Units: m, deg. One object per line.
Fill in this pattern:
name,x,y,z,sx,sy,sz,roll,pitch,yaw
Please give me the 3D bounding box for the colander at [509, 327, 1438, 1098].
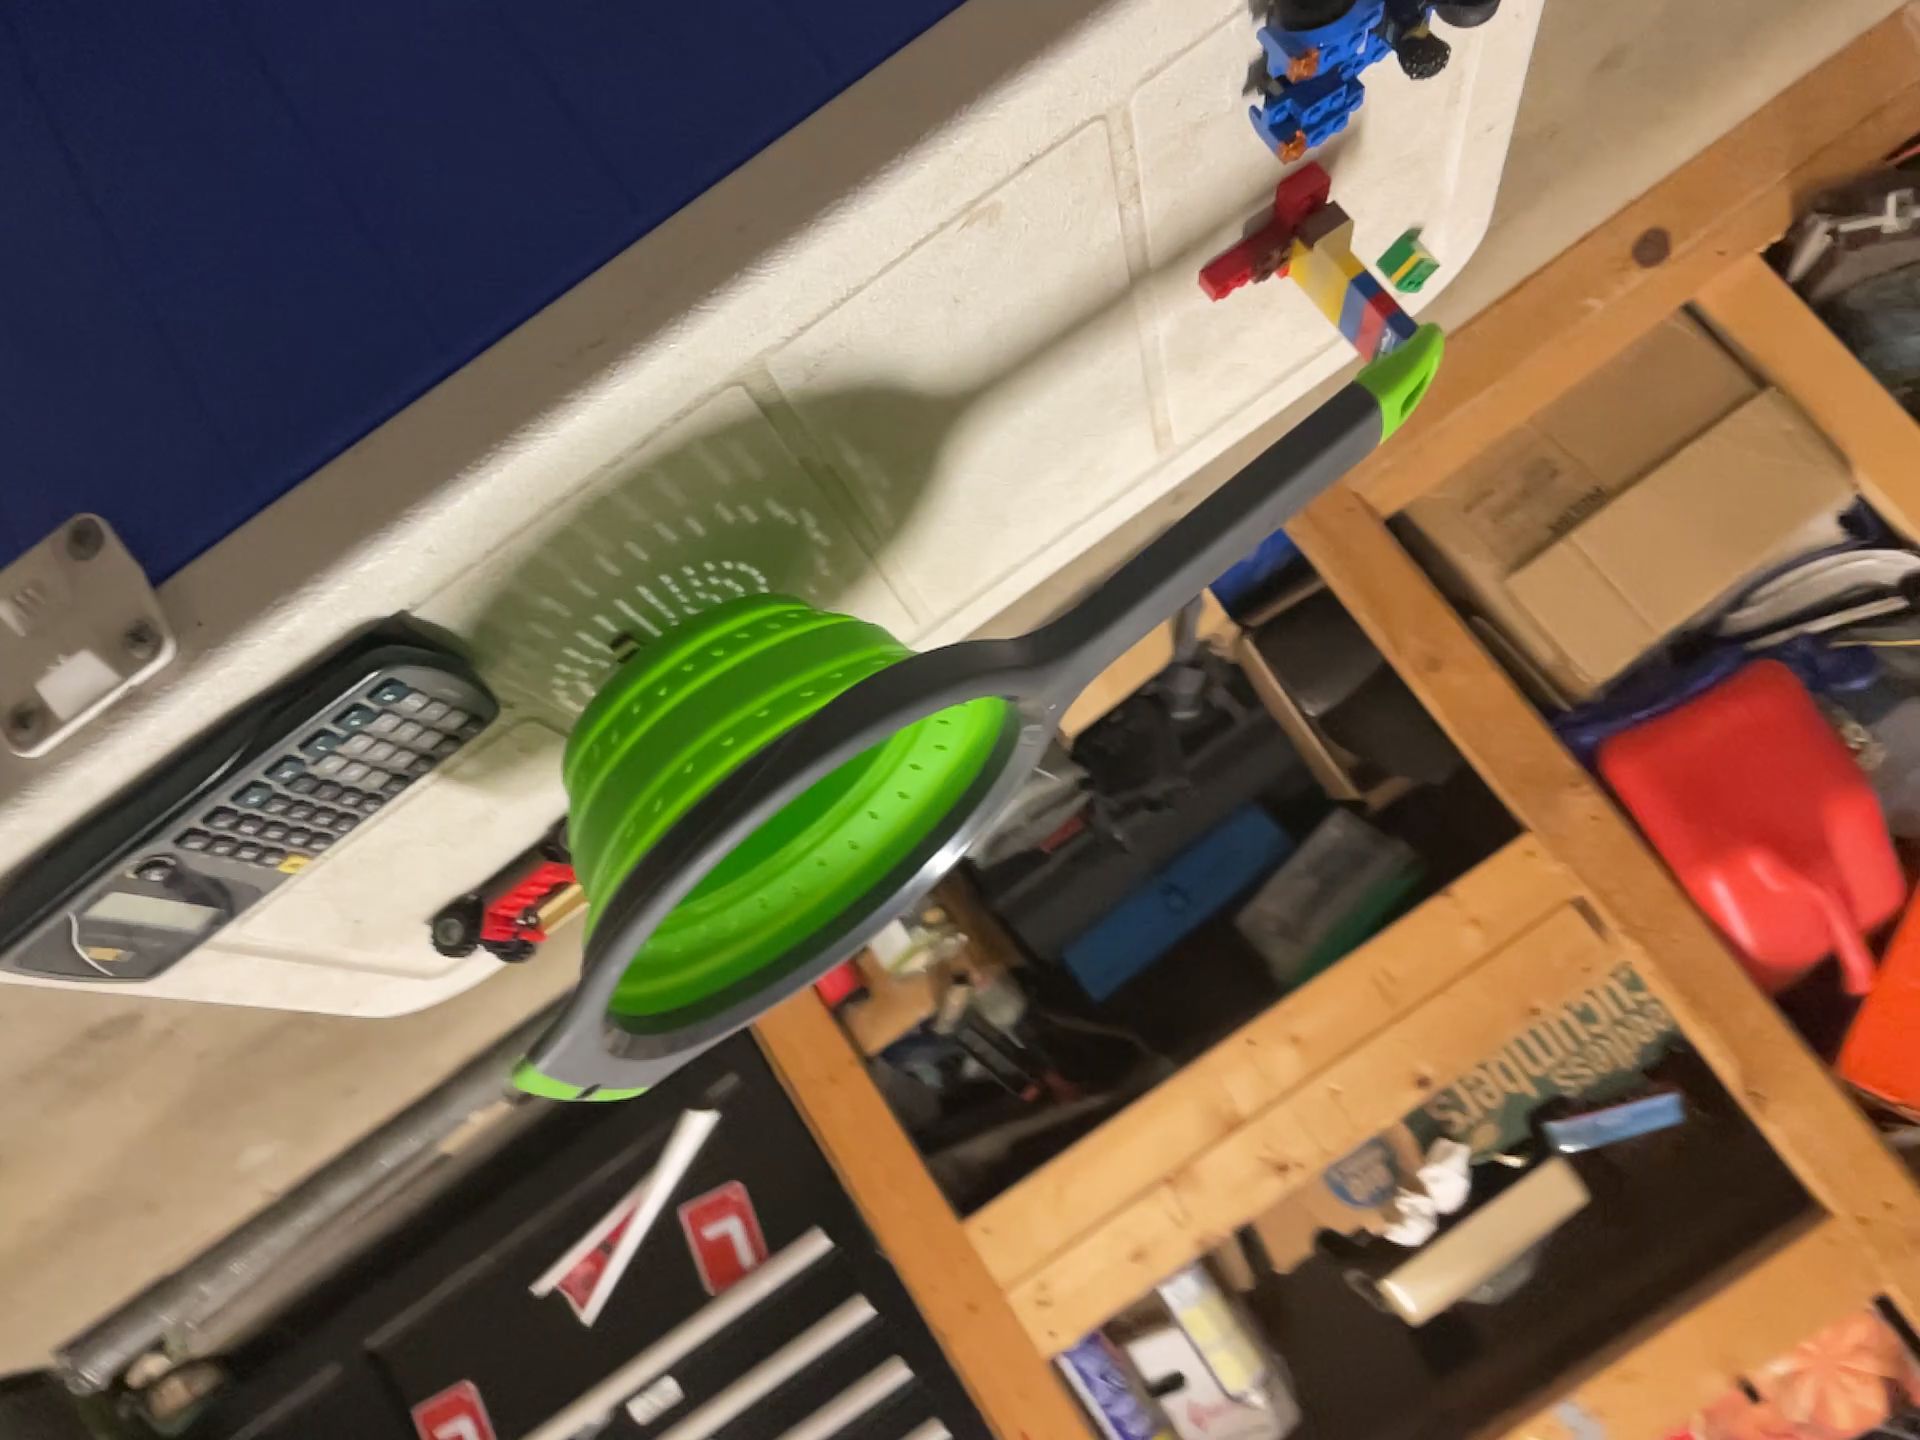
colander,-0.007,-0.029,0.565,0.397,0.094,0.204,-40,161,-2
